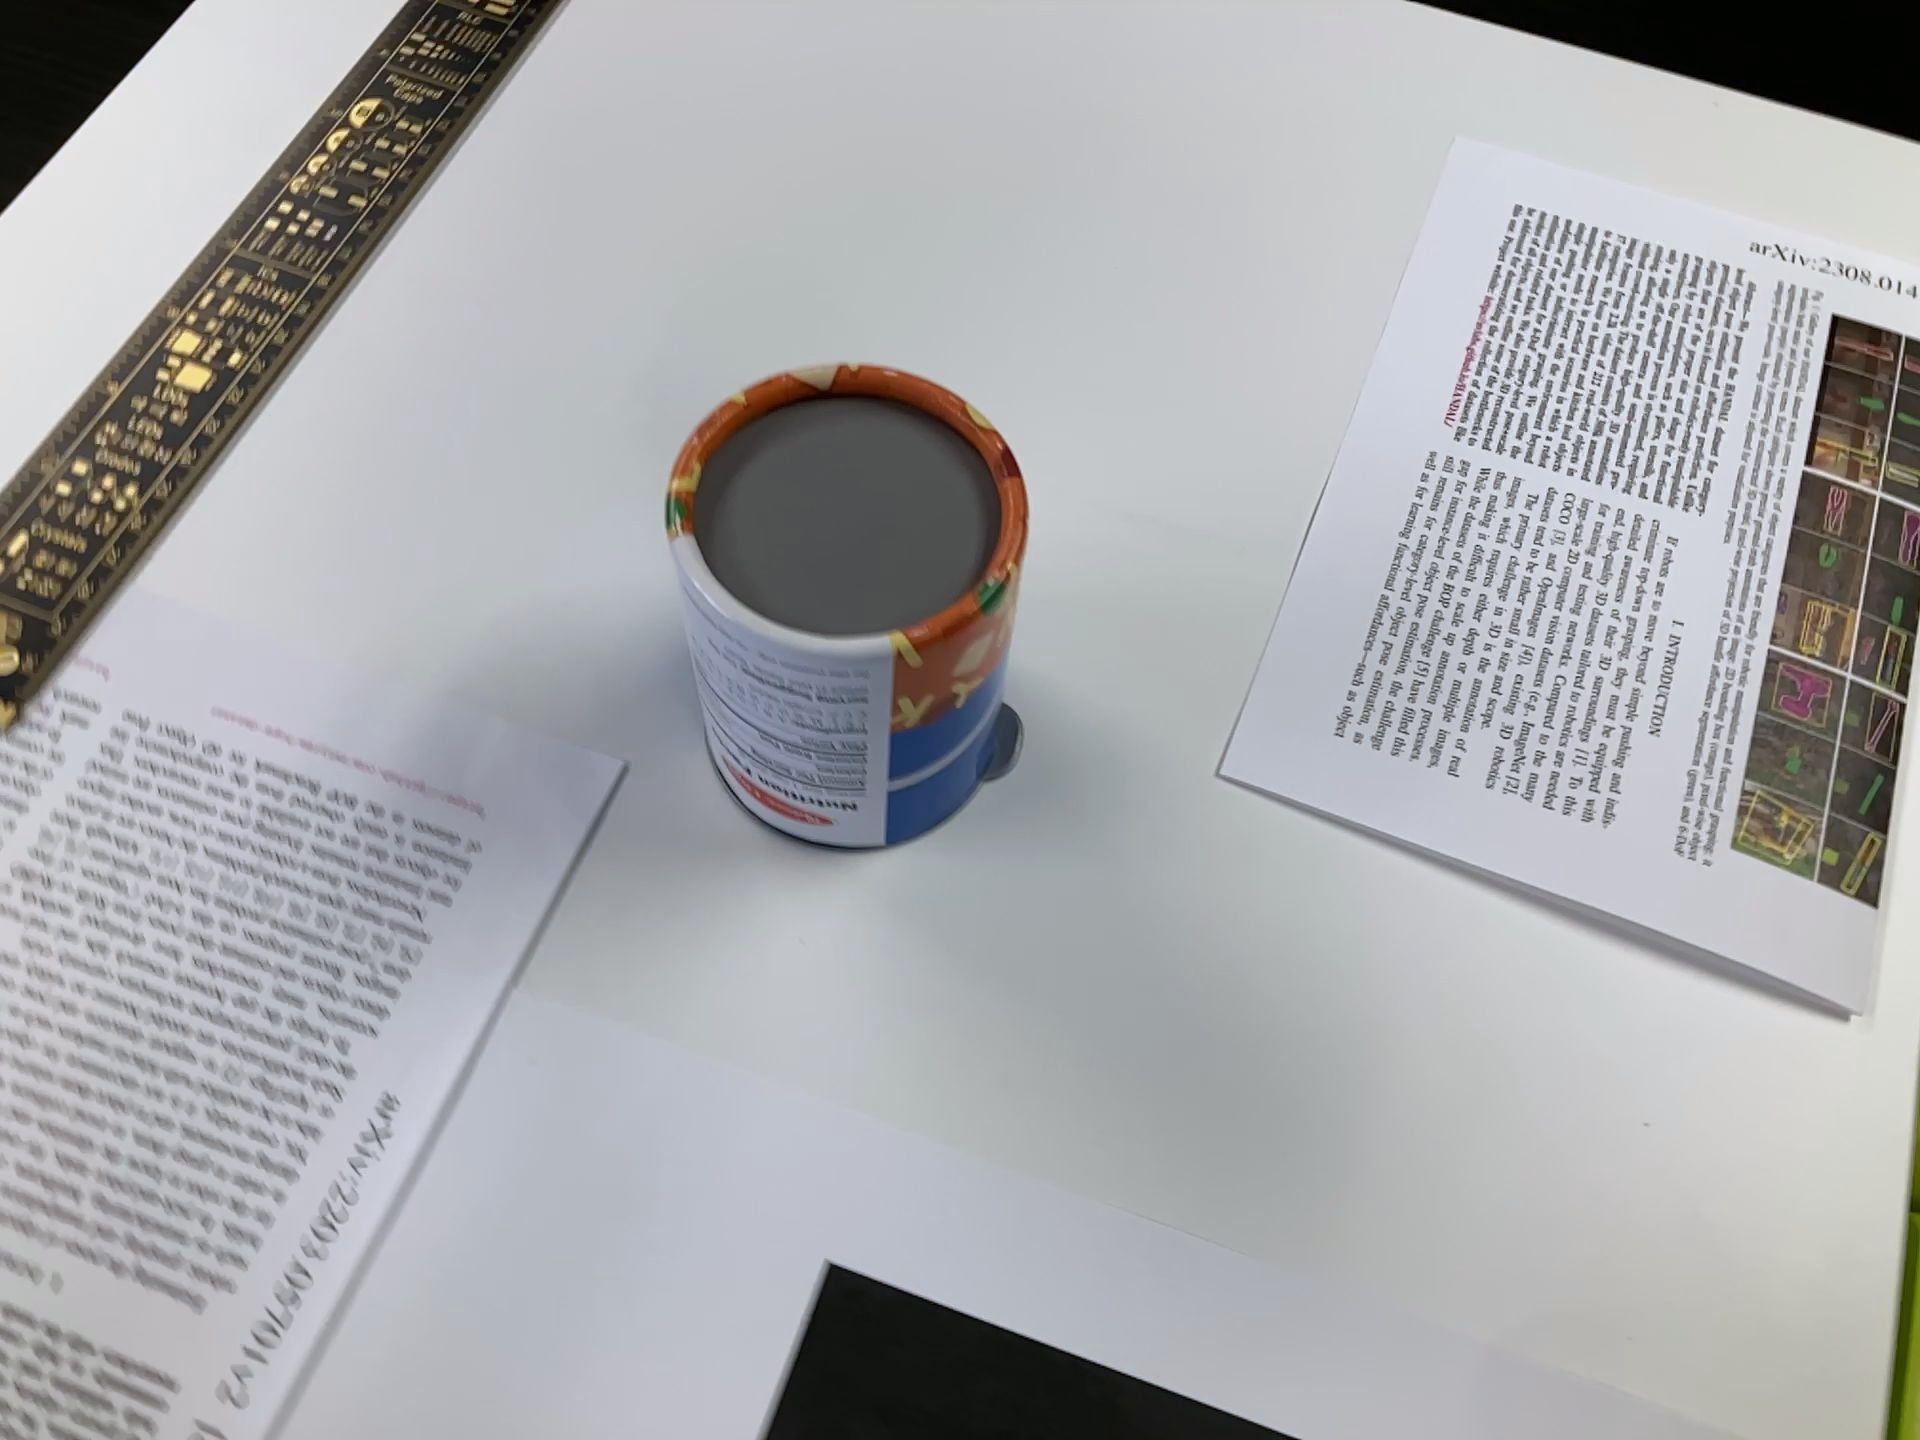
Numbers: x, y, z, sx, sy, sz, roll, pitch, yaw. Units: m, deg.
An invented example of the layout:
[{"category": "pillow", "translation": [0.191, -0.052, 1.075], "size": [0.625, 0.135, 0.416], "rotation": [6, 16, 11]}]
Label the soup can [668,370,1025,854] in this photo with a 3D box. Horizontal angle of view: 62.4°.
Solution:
[{"category": "soup can", "translation": [-0.021, -0.022, 0.325], "size": [0.071, 0.084, 0.071], "rotation": [2, 62, -3]}]
